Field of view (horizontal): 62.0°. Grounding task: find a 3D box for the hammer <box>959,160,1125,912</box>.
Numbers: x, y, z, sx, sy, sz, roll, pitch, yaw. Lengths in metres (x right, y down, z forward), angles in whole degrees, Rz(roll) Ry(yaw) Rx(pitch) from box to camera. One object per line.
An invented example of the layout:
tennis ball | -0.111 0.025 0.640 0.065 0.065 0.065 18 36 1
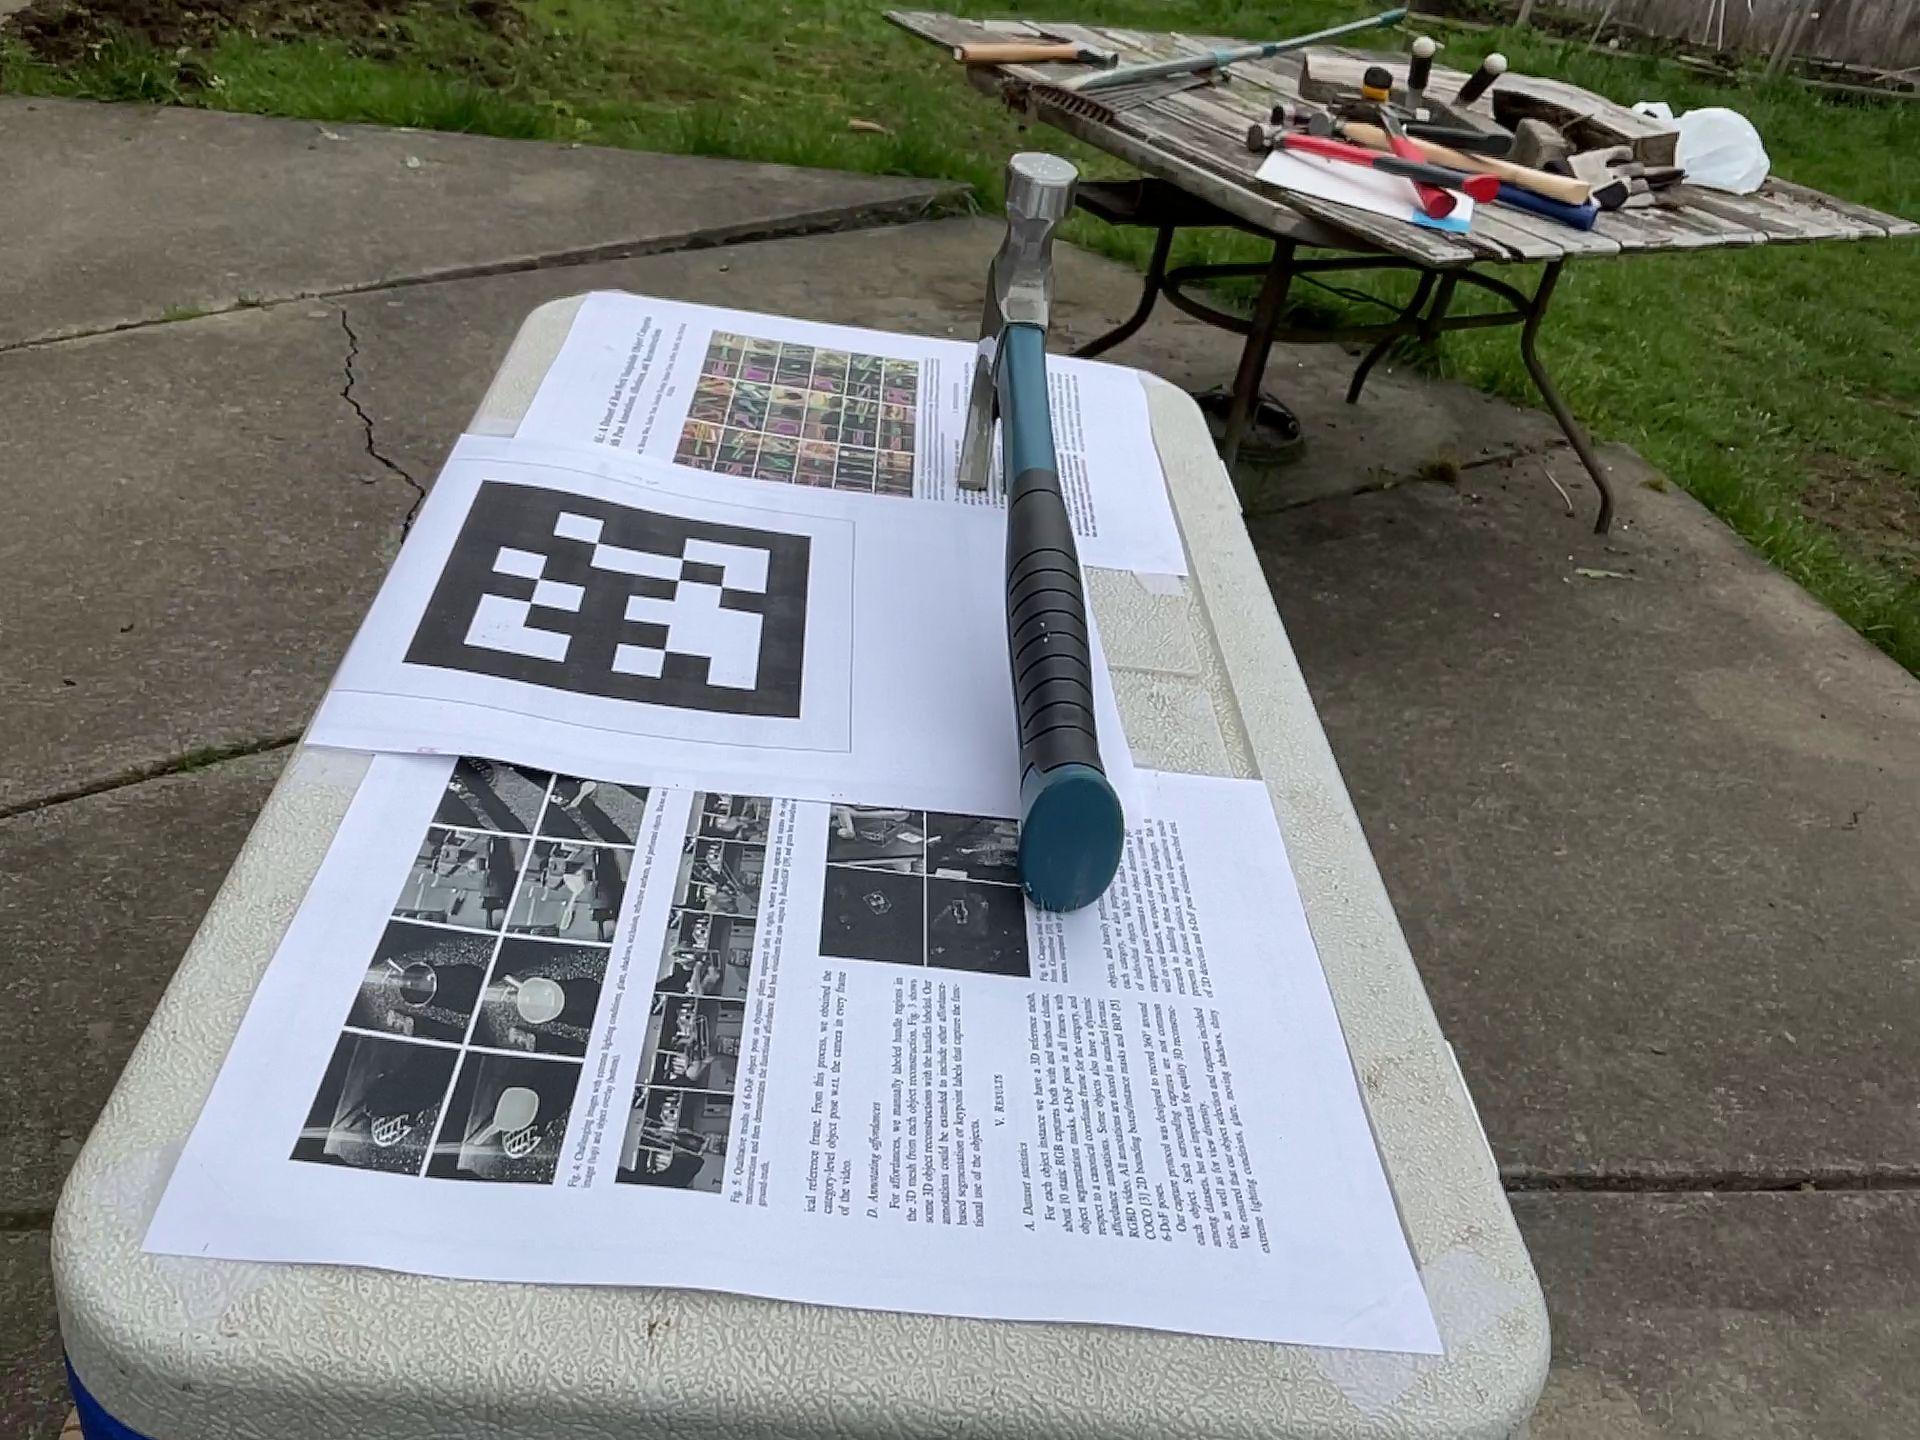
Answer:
hammer | 0.027 -0.072 0.577 0.033 0.128 0.331 5 43 -7
